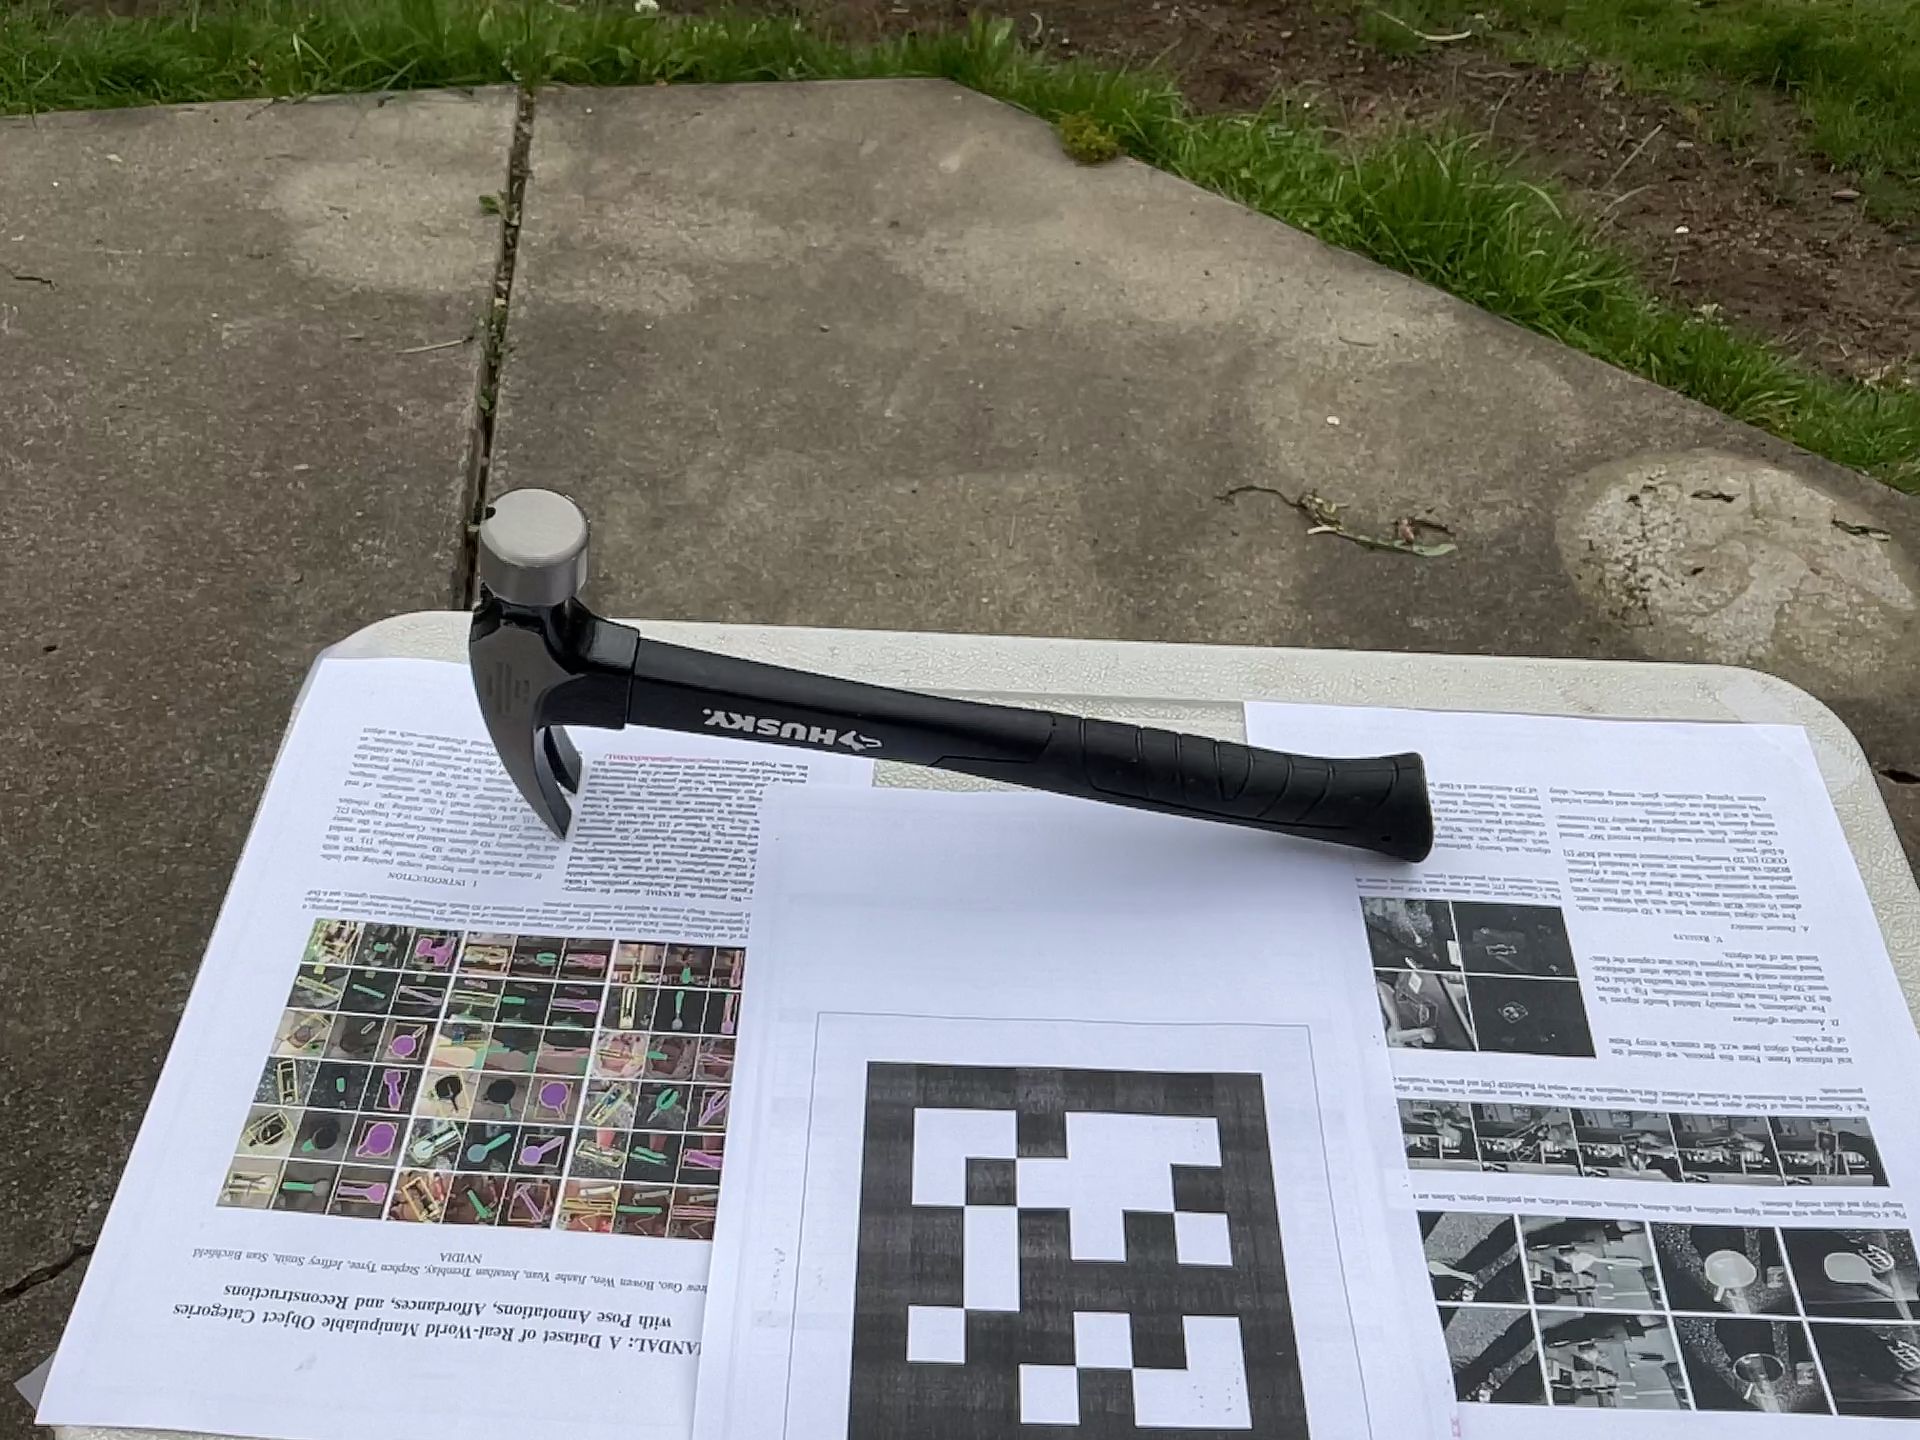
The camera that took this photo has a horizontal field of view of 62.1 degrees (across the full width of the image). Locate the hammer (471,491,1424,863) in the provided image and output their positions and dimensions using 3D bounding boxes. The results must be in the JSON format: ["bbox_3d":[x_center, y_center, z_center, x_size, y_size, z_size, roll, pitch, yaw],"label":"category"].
[{"bbox_3d":[0.004,0.010,0.554,0.334,0.146,0.035,10,52,-9],"label":"hammer"}]
